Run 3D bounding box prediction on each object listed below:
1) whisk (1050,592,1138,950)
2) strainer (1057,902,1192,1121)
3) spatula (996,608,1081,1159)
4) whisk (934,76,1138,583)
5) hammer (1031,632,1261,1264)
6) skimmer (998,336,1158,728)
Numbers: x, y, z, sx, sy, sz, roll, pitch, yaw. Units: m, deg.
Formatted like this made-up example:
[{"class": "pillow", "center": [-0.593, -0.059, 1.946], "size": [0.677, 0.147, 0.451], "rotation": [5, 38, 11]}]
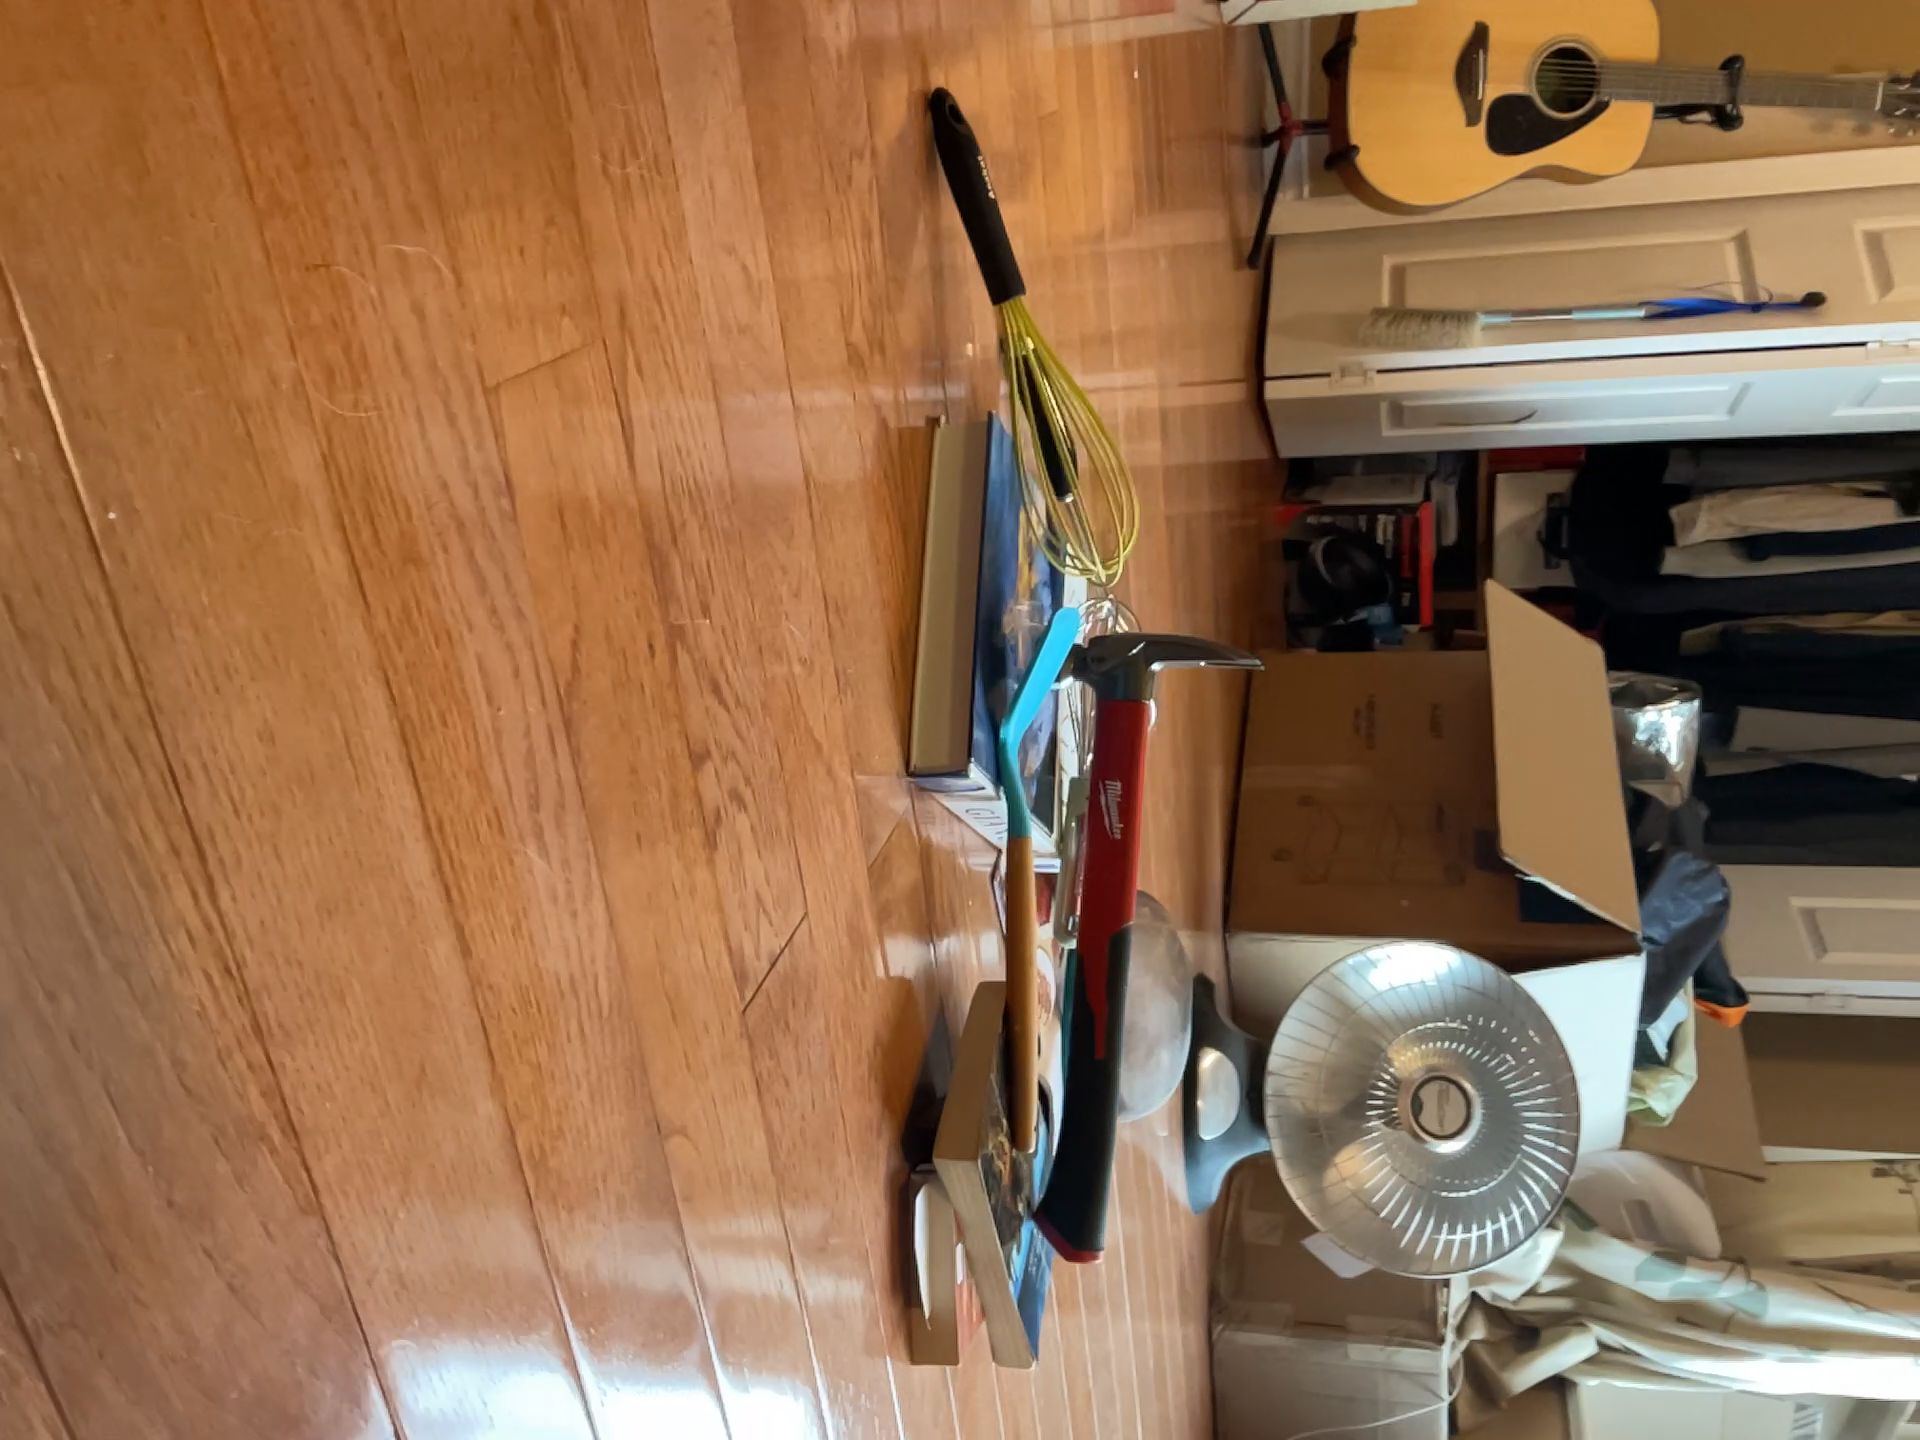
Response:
[{"class": "whisk", "center": [0.086, 0.034, 1.087], "size": [0.059, 0.058, 0.246], "rotation": [164, -66, -74]}, {"class": "strainer", "center": [0.134, 0.192, 1.251], "size": [0.340, 0.095, 0.211], "rotation": [83, 16, -48]}, {"class": "spatula", "center": [0.044, 0.095, 0.922], "size": [0.082, 0.044, 0.317], "rotation": [-2, 91, -76]}, {"class": "whisk", "center": [0.038, -0.228, 0.956], "size": [0.080, 0.067, 0.311], "rotation": [-36, 111, -53]}, {"class": "hammer", "center": [0.103, 0.137, 0.988], "size": [0.038, 0.143, 0.386], "rotation": [29, 65, -69]}, {"class": "skimmer", "center": [0.070, -0.112, 1.184], "size": [0.128, 0.090, 0.363], "rotation": [-67, 141, -50]}]
